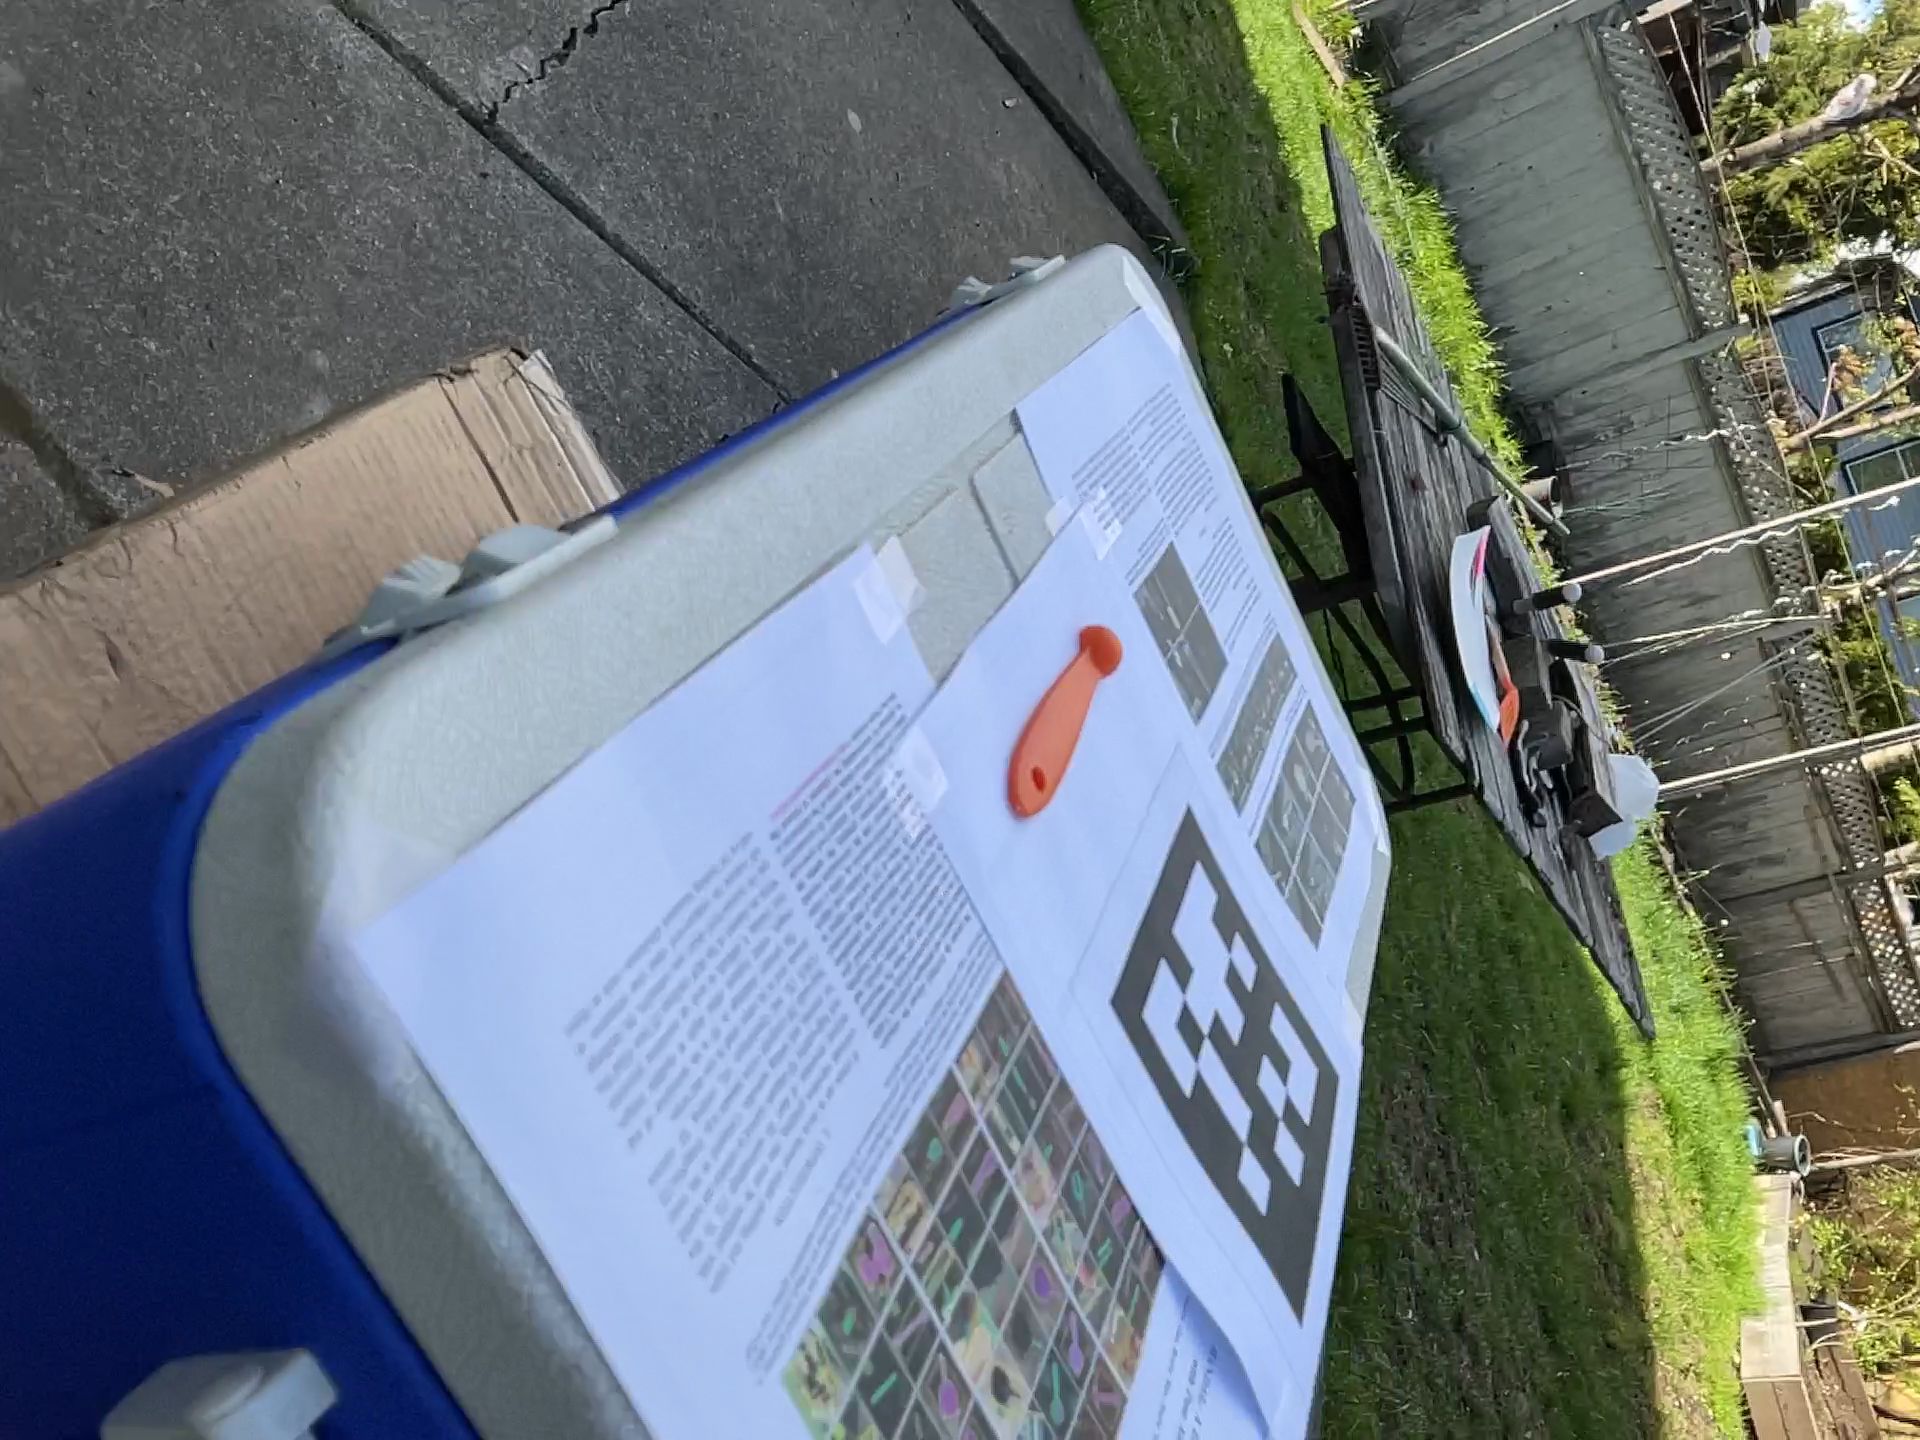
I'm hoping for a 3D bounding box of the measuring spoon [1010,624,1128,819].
[{"bbox_3d":[0.037,-0.002,0.510,0.021,0.011,0.117,56,30,-15],"label":"measuring spoon"}]
